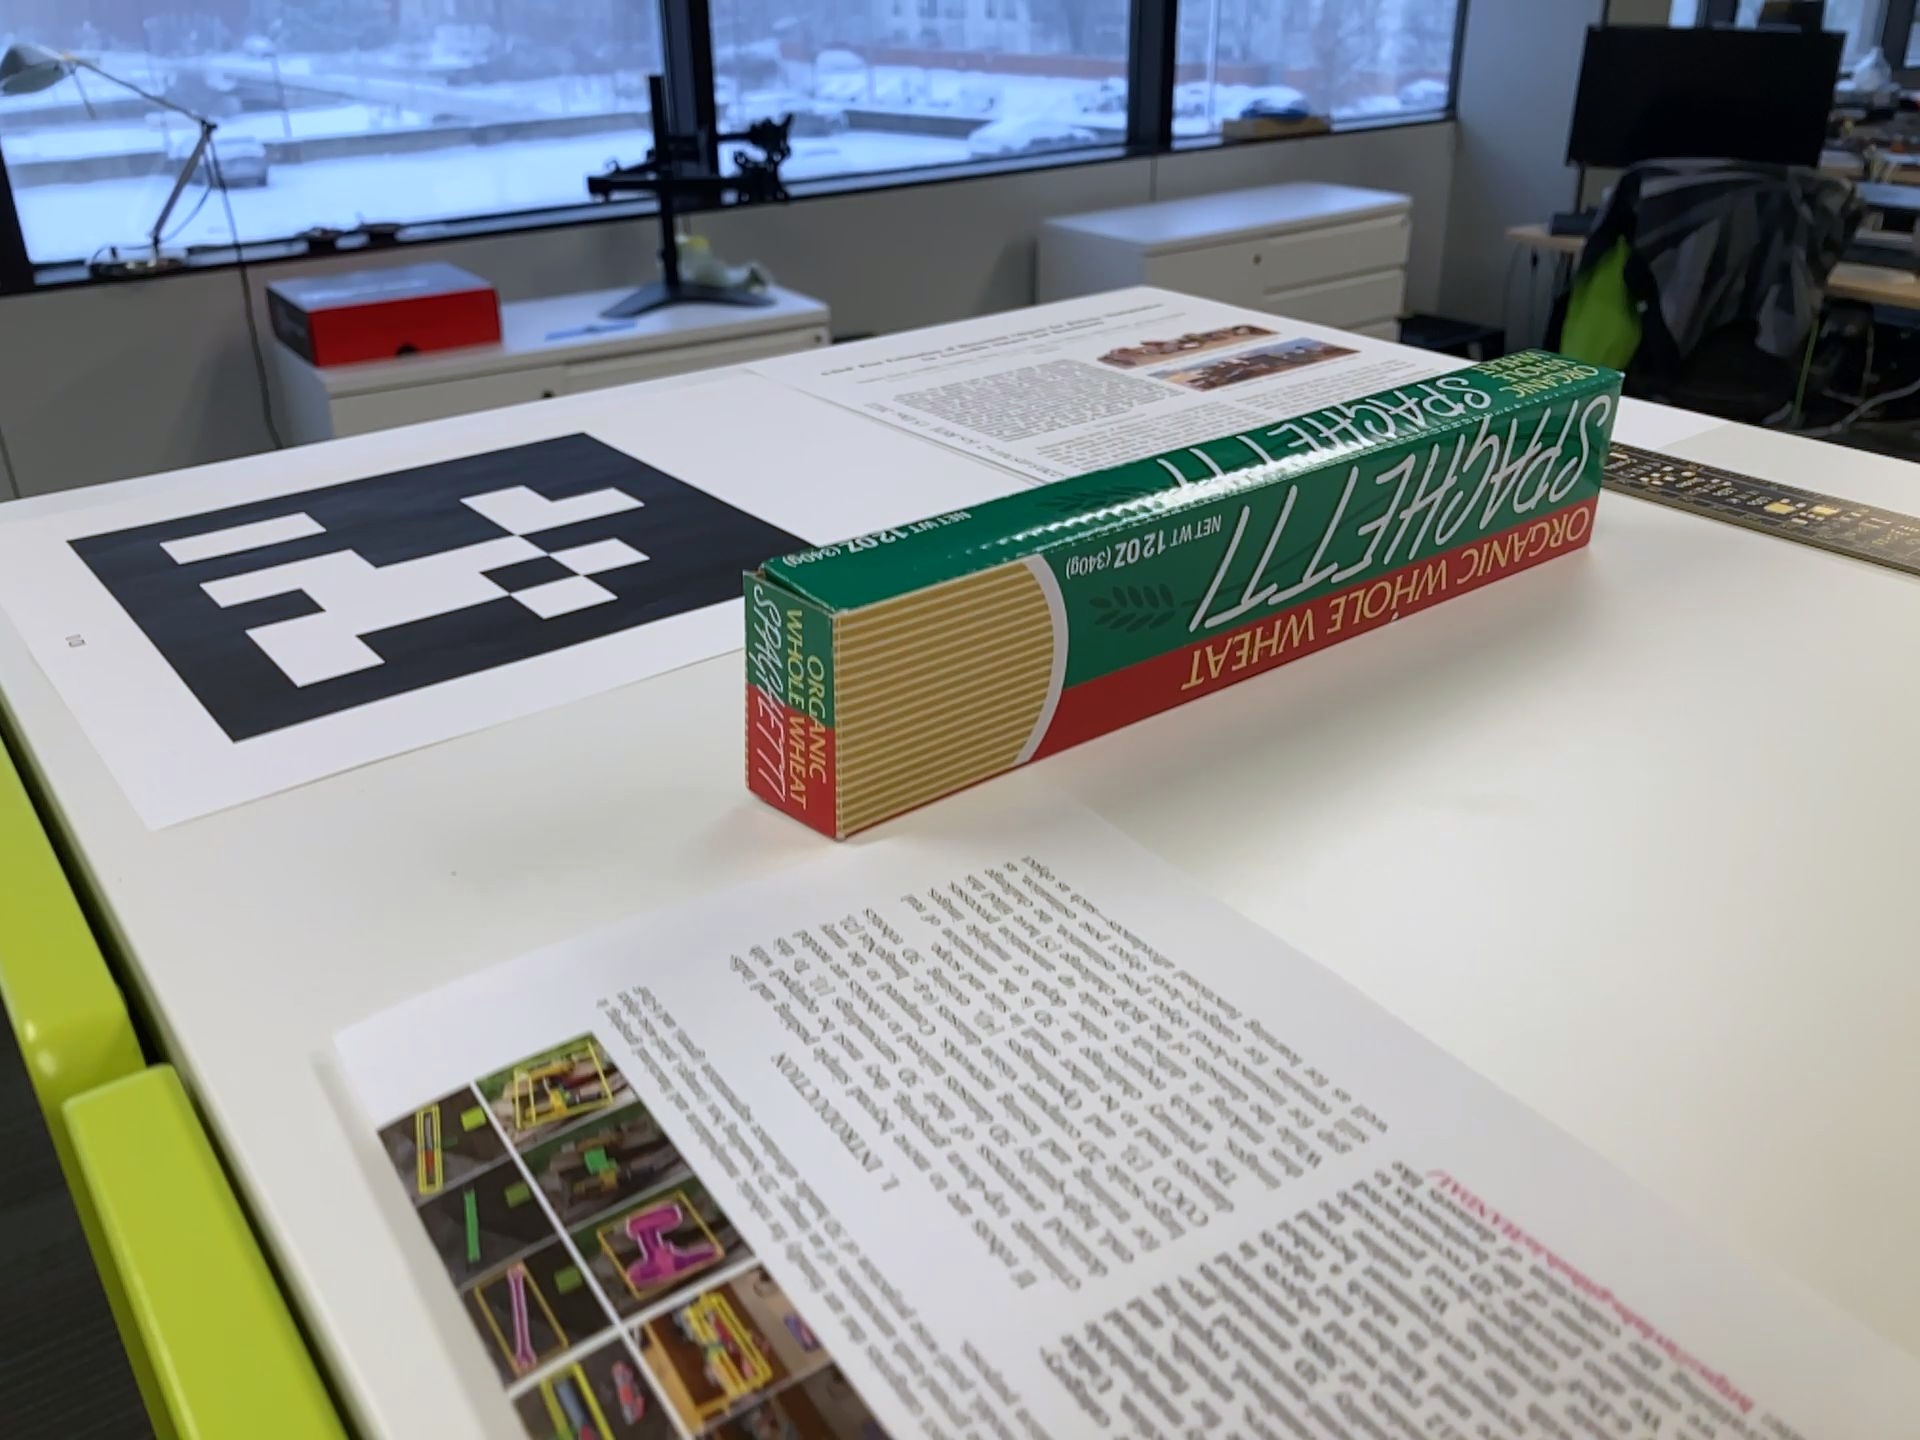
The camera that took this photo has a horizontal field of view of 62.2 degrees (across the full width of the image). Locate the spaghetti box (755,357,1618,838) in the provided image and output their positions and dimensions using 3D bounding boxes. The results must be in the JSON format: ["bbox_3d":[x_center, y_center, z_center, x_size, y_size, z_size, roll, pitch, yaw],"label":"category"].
[{"bbox_3d":[0.066,-0.038,0.366,0.250,0.050,0.028,-20,36,-33],"label":"spaghetti box"}]
